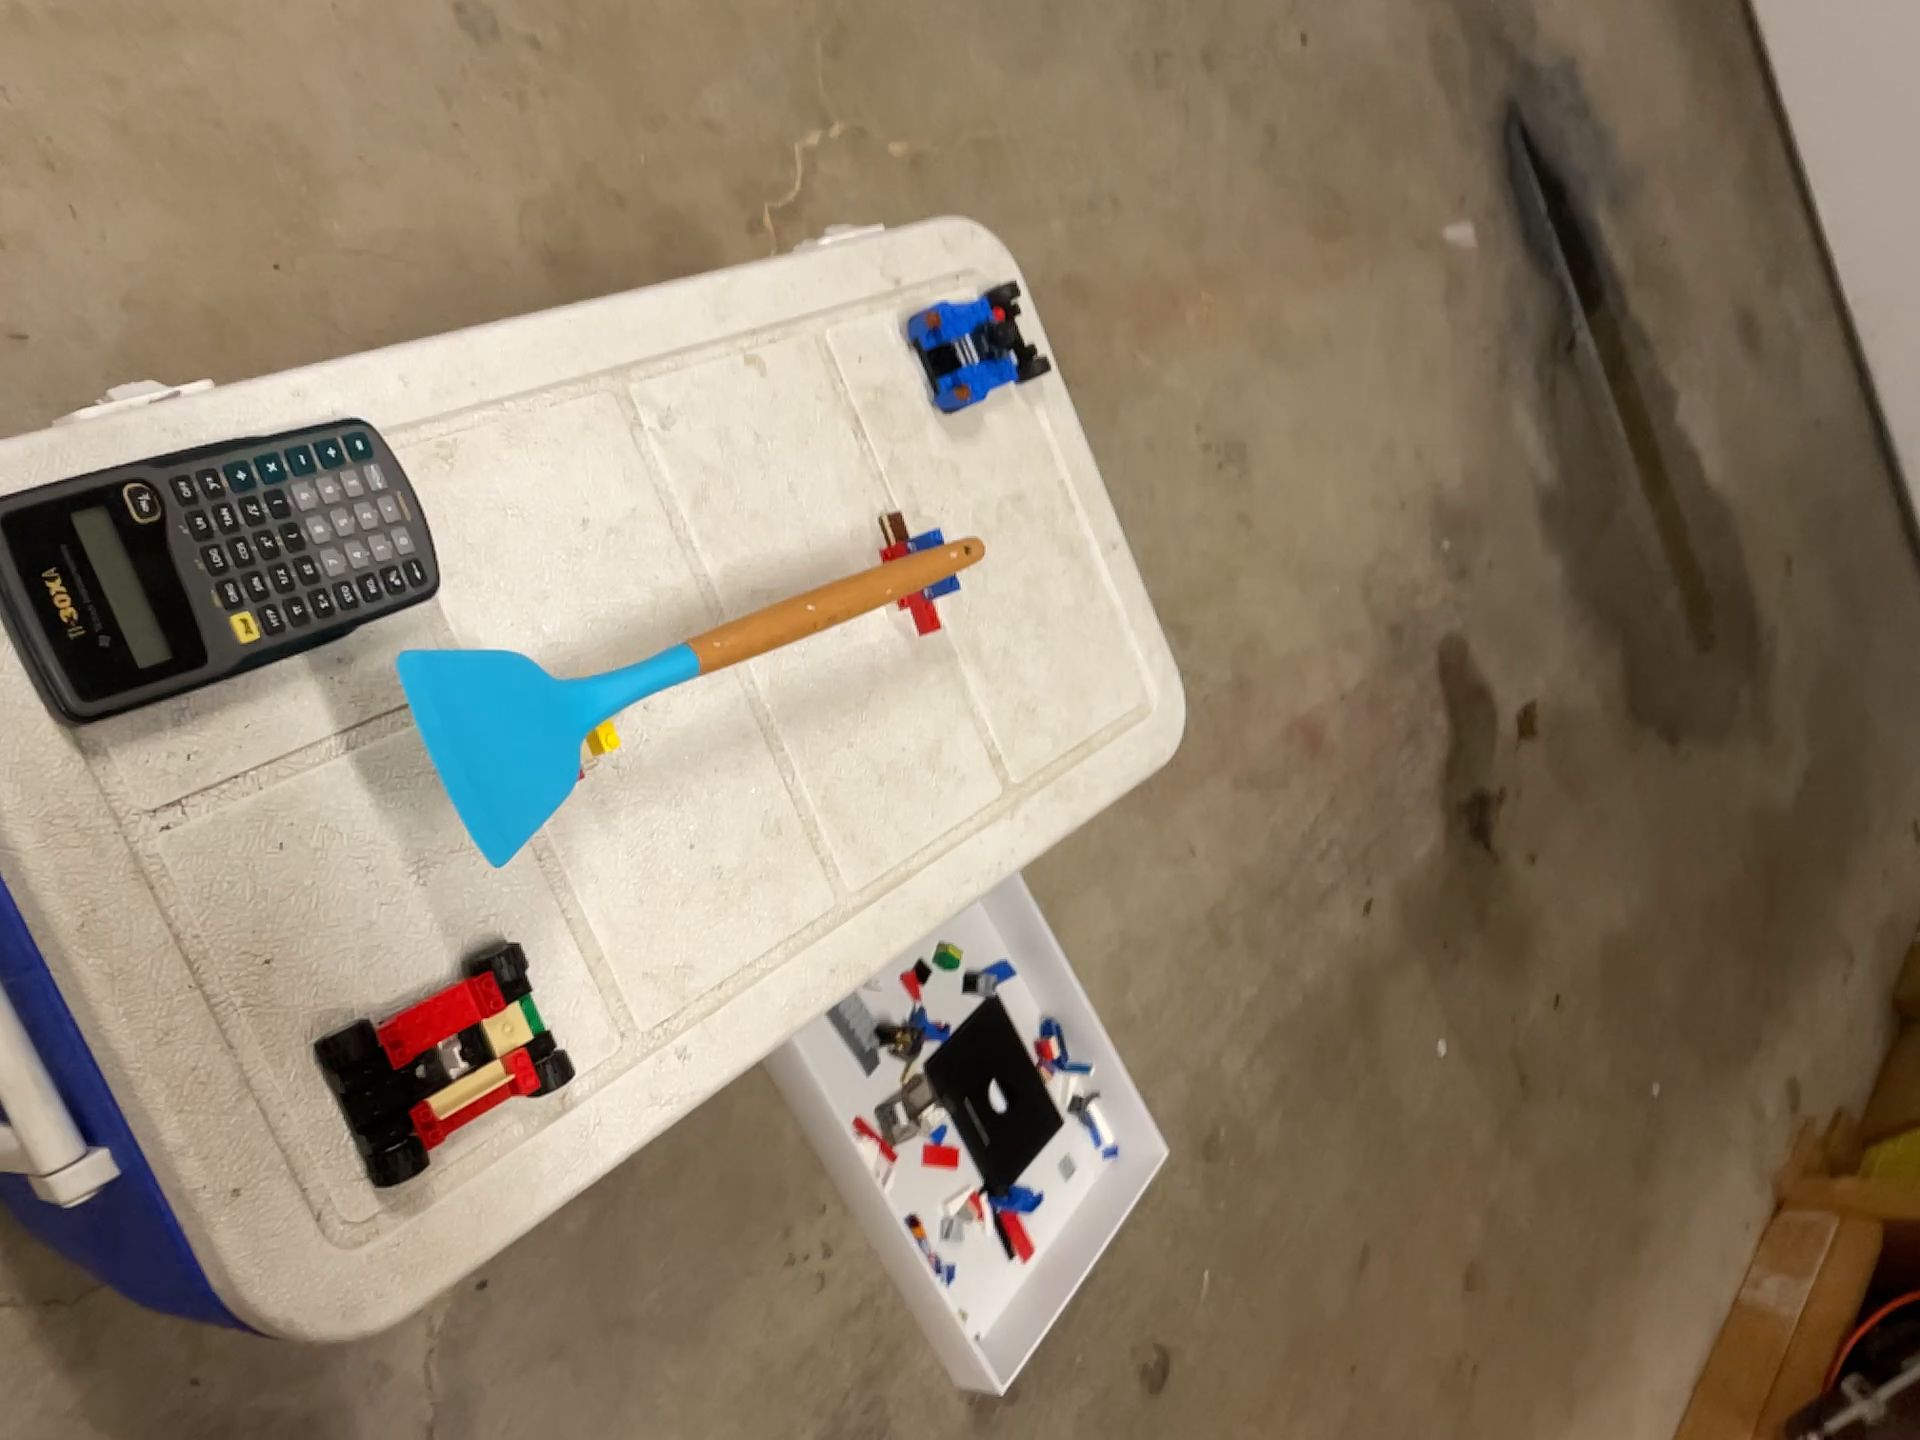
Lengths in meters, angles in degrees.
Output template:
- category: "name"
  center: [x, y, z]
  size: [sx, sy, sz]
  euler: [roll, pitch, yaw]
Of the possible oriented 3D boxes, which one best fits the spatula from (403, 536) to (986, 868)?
- category: "spatula"
  center: [-0.086, -0.033, 0.657]
  size: [0.318, 0.044, 0.082]
  euler: [-27, 96, -44]
